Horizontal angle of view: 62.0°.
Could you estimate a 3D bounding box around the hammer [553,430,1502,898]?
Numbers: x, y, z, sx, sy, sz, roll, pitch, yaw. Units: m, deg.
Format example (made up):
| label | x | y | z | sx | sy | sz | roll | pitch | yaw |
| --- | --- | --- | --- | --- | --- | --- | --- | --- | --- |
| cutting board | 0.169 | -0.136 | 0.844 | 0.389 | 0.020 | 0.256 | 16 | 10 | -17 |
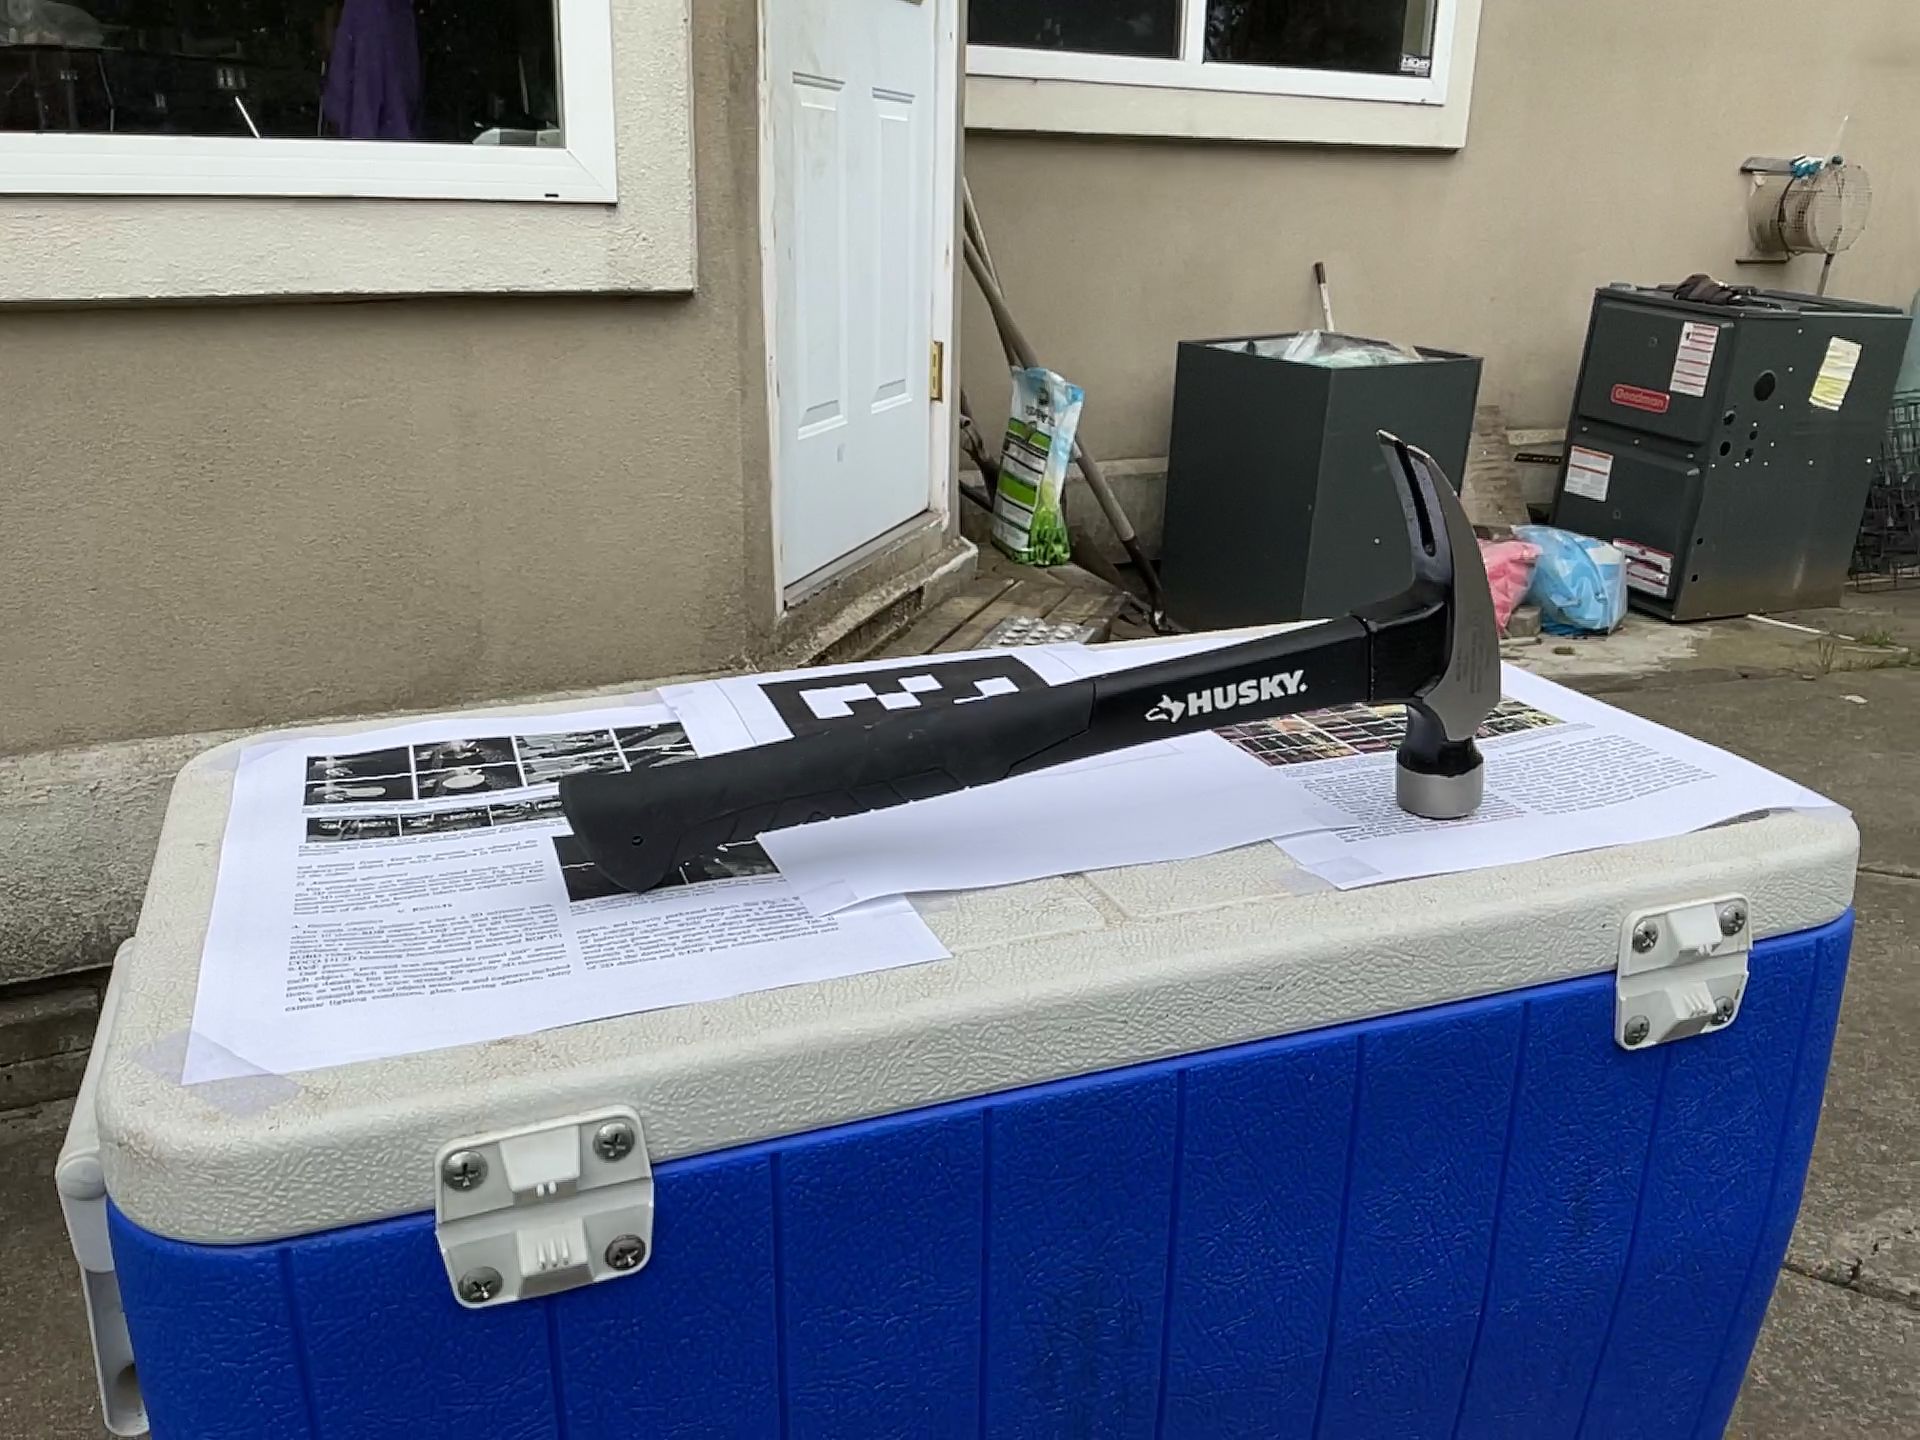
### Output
| label | x | y | z | sx | sy | sz | roll | pitch | yaw |
| --- | --- | --- | --- | --- | --- | --- | --- | --- | --- |
| hammer | 0.030 | -0.002 | 0.553 | 0.334 | 0.146 | 0.035 | -12 | 26 | -10 |
